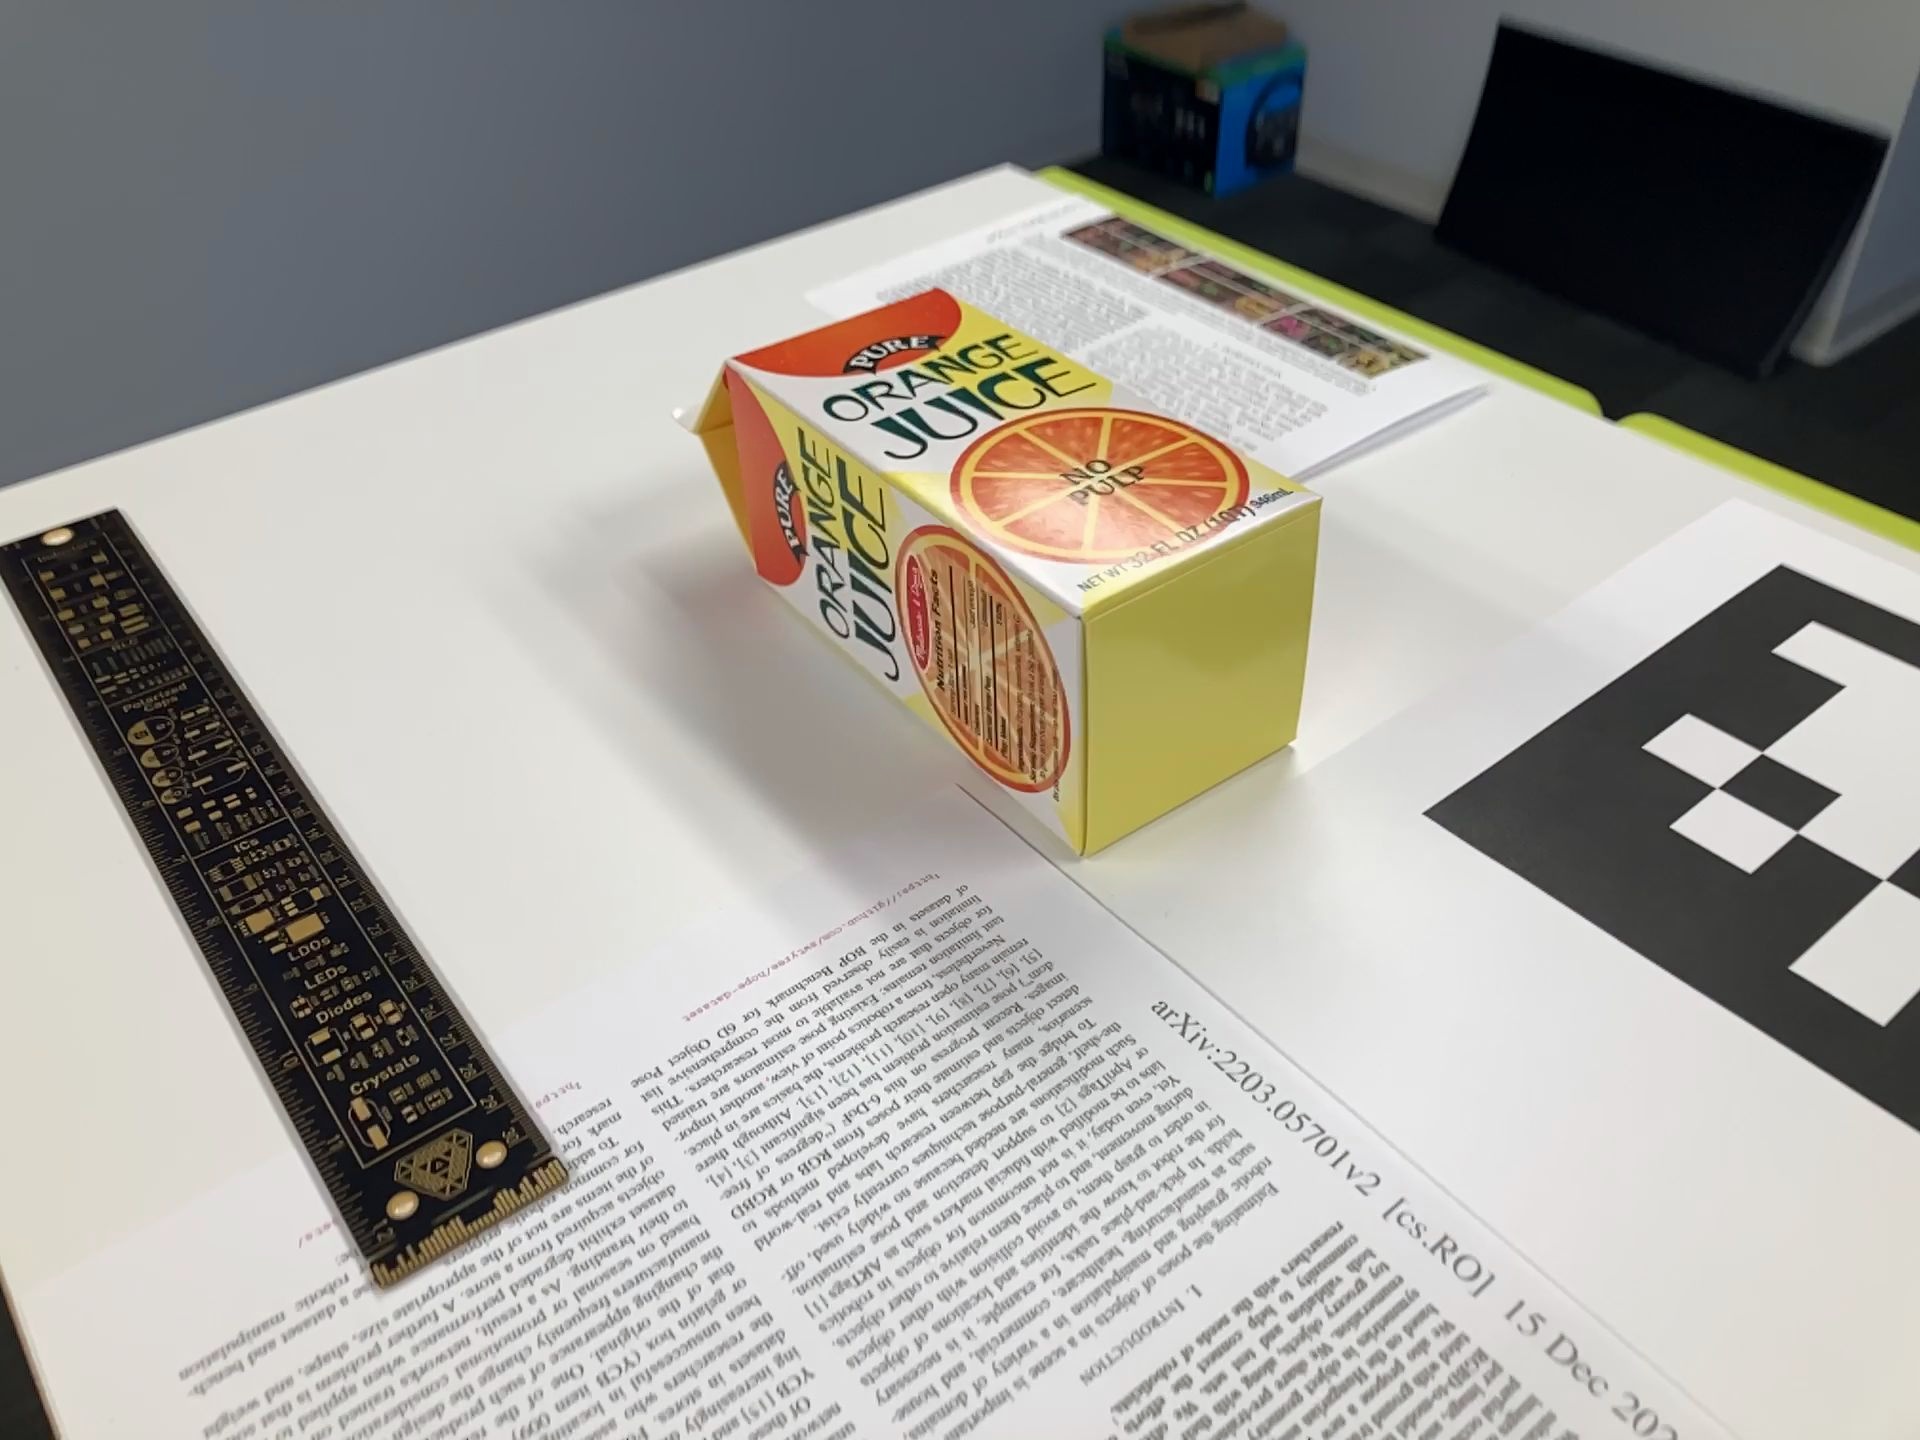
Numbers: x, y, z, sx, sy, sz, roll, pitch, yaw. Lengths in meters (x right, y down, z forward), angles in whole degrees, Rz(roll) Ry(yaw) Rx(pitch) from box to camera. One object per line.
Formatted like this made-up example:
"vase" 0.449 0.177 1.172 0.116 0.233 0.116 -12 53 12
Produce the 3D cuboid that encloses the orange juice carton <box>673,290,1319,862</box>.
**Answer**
"orange juice carton" -0.001 -0.055 0.424 0.072 0.073 0.192 -27 45 -26
